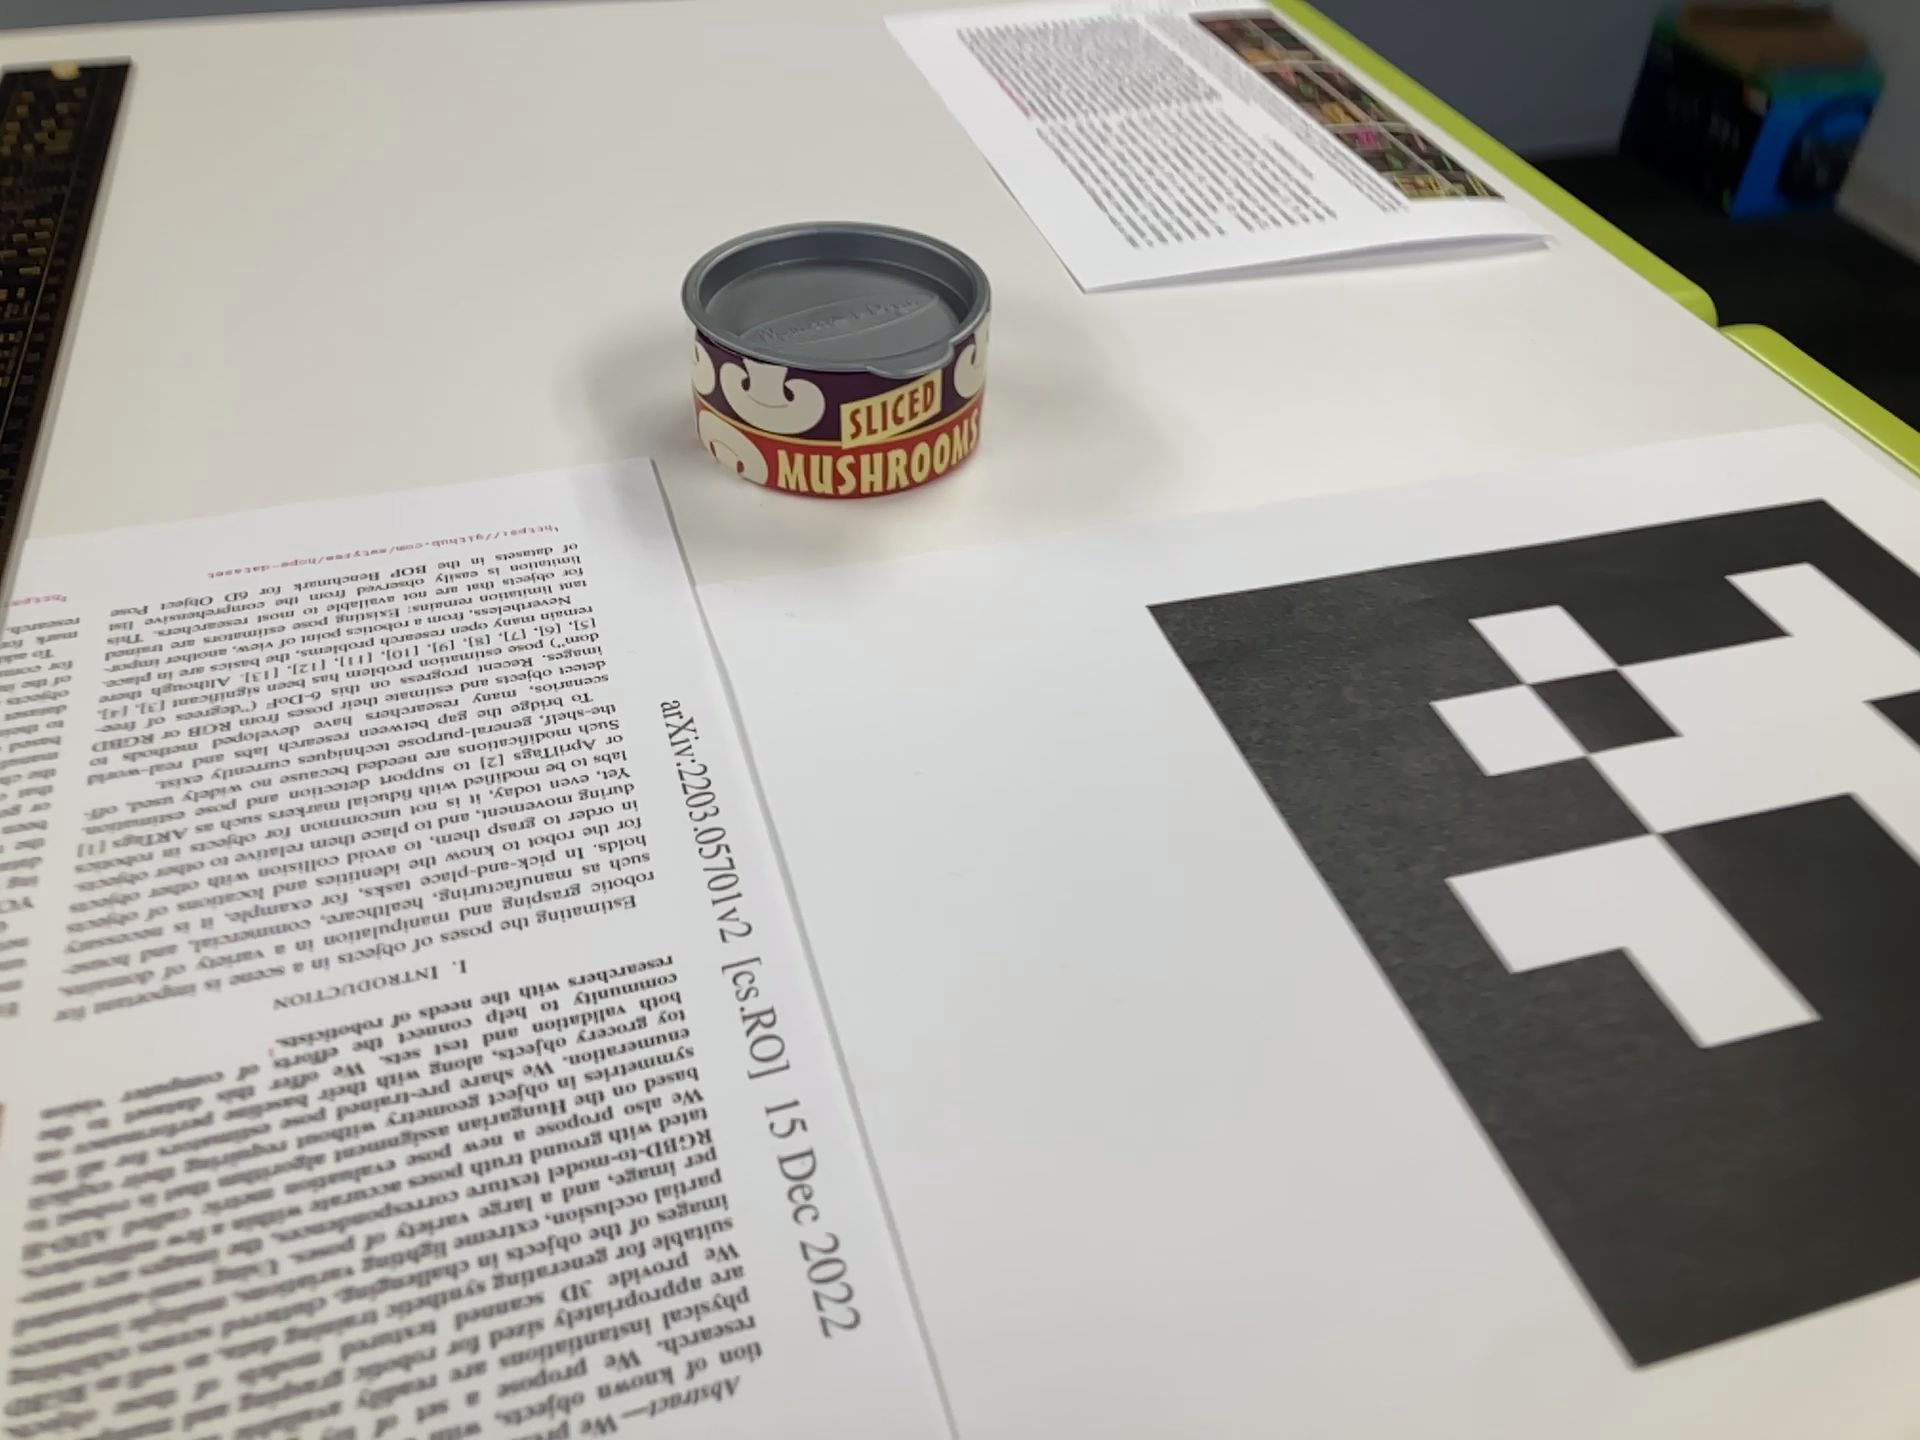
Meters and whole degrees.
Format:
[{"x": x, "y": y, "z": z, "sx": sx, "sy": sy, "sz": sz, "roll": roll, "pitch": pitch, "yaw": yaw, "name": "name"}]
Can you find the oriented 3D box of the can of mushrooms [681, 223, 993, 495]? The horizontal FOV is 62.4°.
[{"x": -0.025, "y": -0.079, "z": 0.346, "sx": 0.071, "sy": 0.033, "sz": 0.071, "roll": 2, "pitch": 41, "yaw": -2, "name": "can of mushrooms"}]
